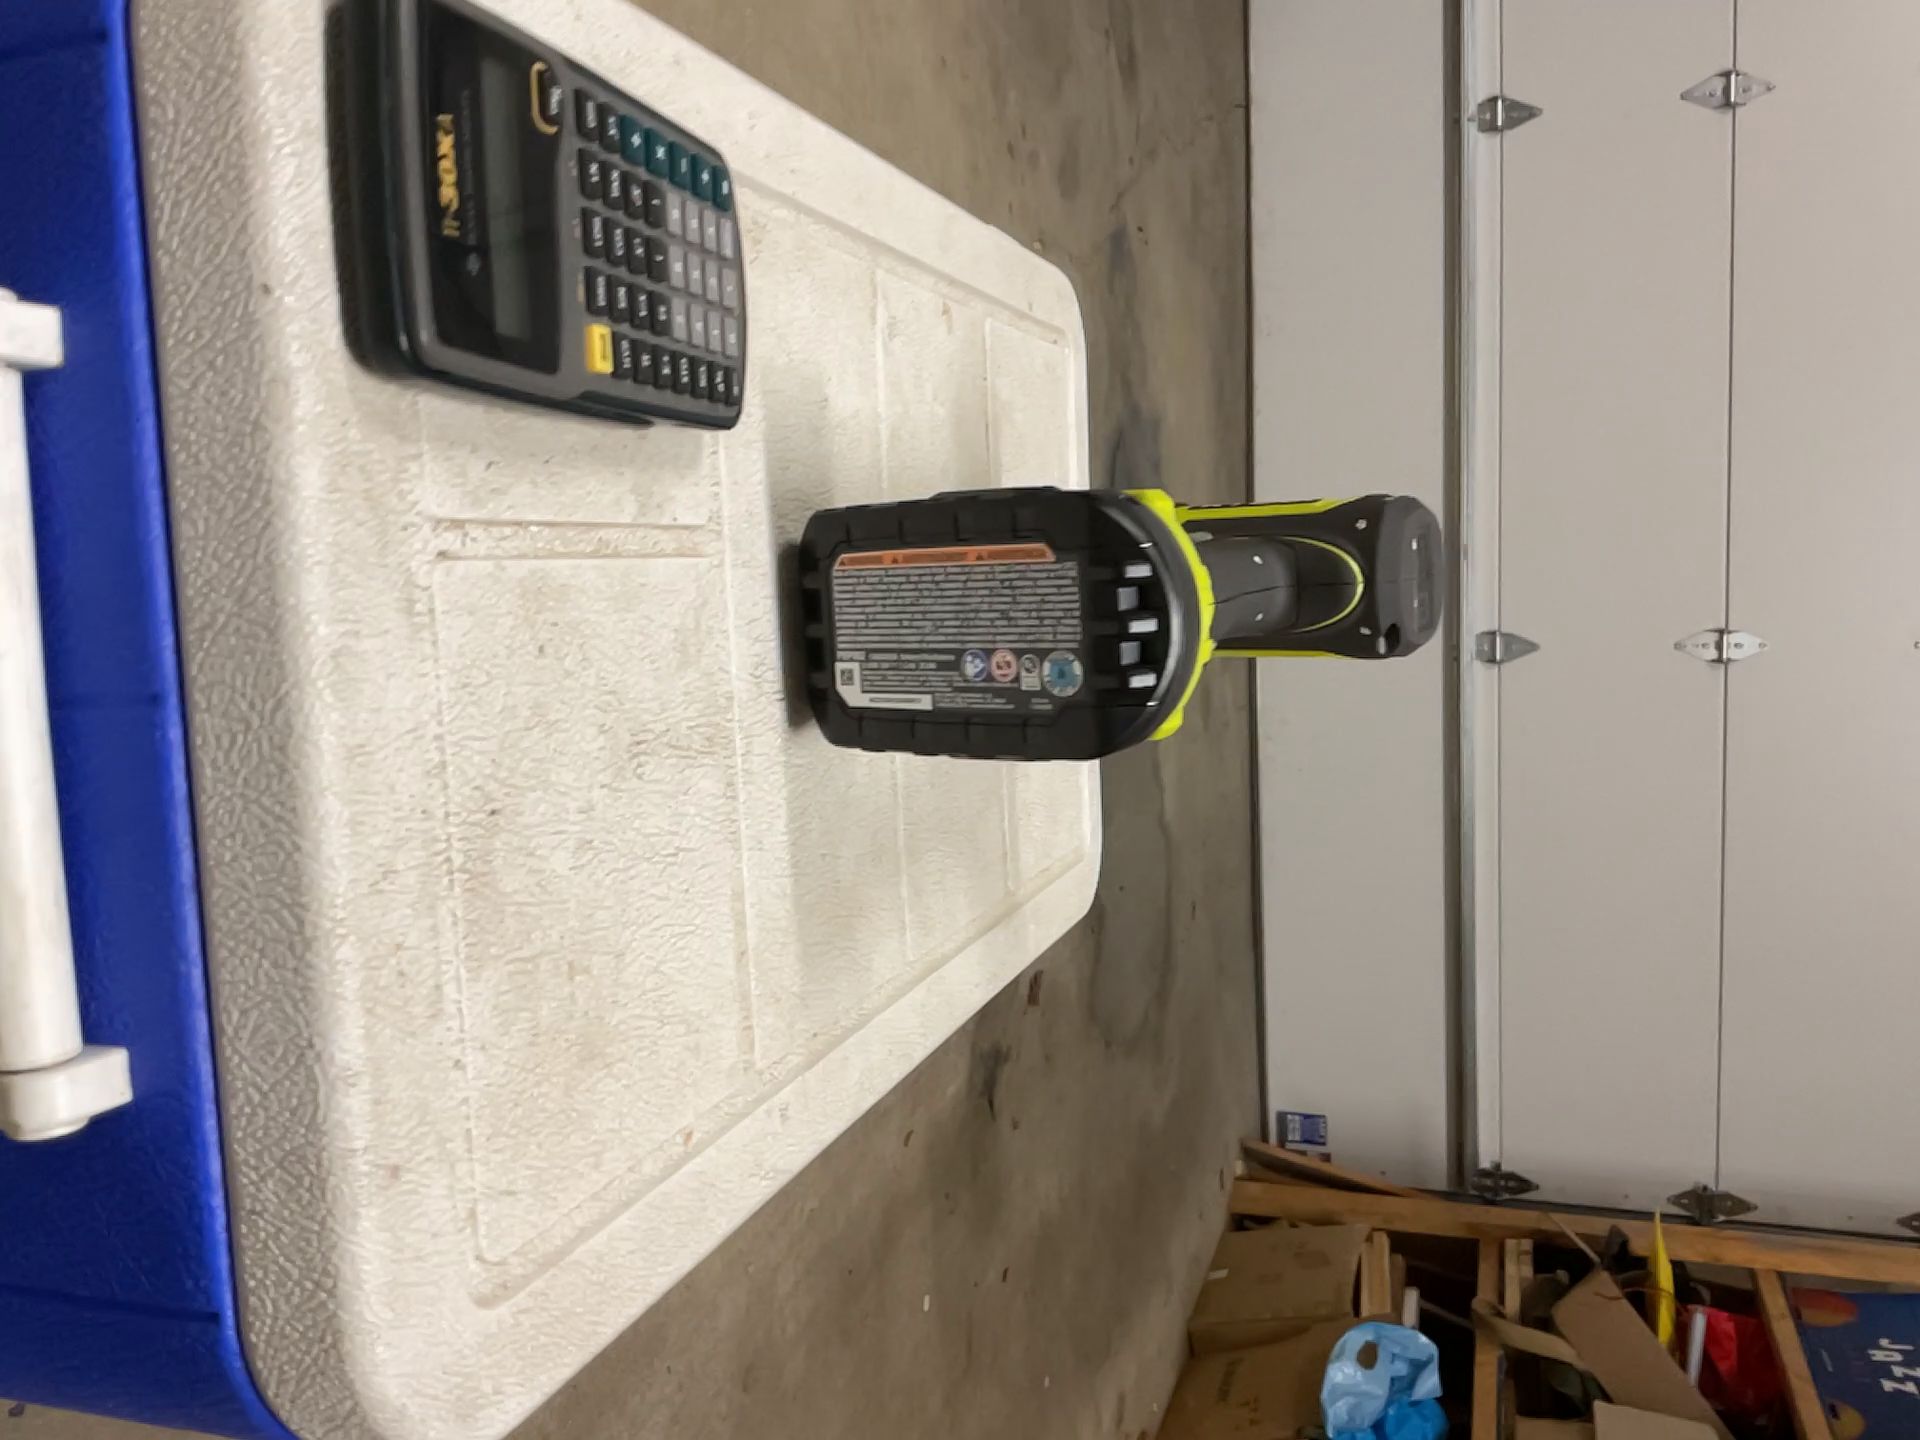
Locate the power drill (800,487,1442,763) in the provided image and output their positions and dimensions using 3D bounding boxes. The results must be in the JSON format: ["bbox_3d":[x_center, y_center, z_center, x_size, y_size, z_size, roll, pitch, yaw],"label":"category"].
[{"bbox_3d":[0.047,-0.043,0.572,0.229,0.190,0.080,-15,104,-56],"label":"power drill"}]
